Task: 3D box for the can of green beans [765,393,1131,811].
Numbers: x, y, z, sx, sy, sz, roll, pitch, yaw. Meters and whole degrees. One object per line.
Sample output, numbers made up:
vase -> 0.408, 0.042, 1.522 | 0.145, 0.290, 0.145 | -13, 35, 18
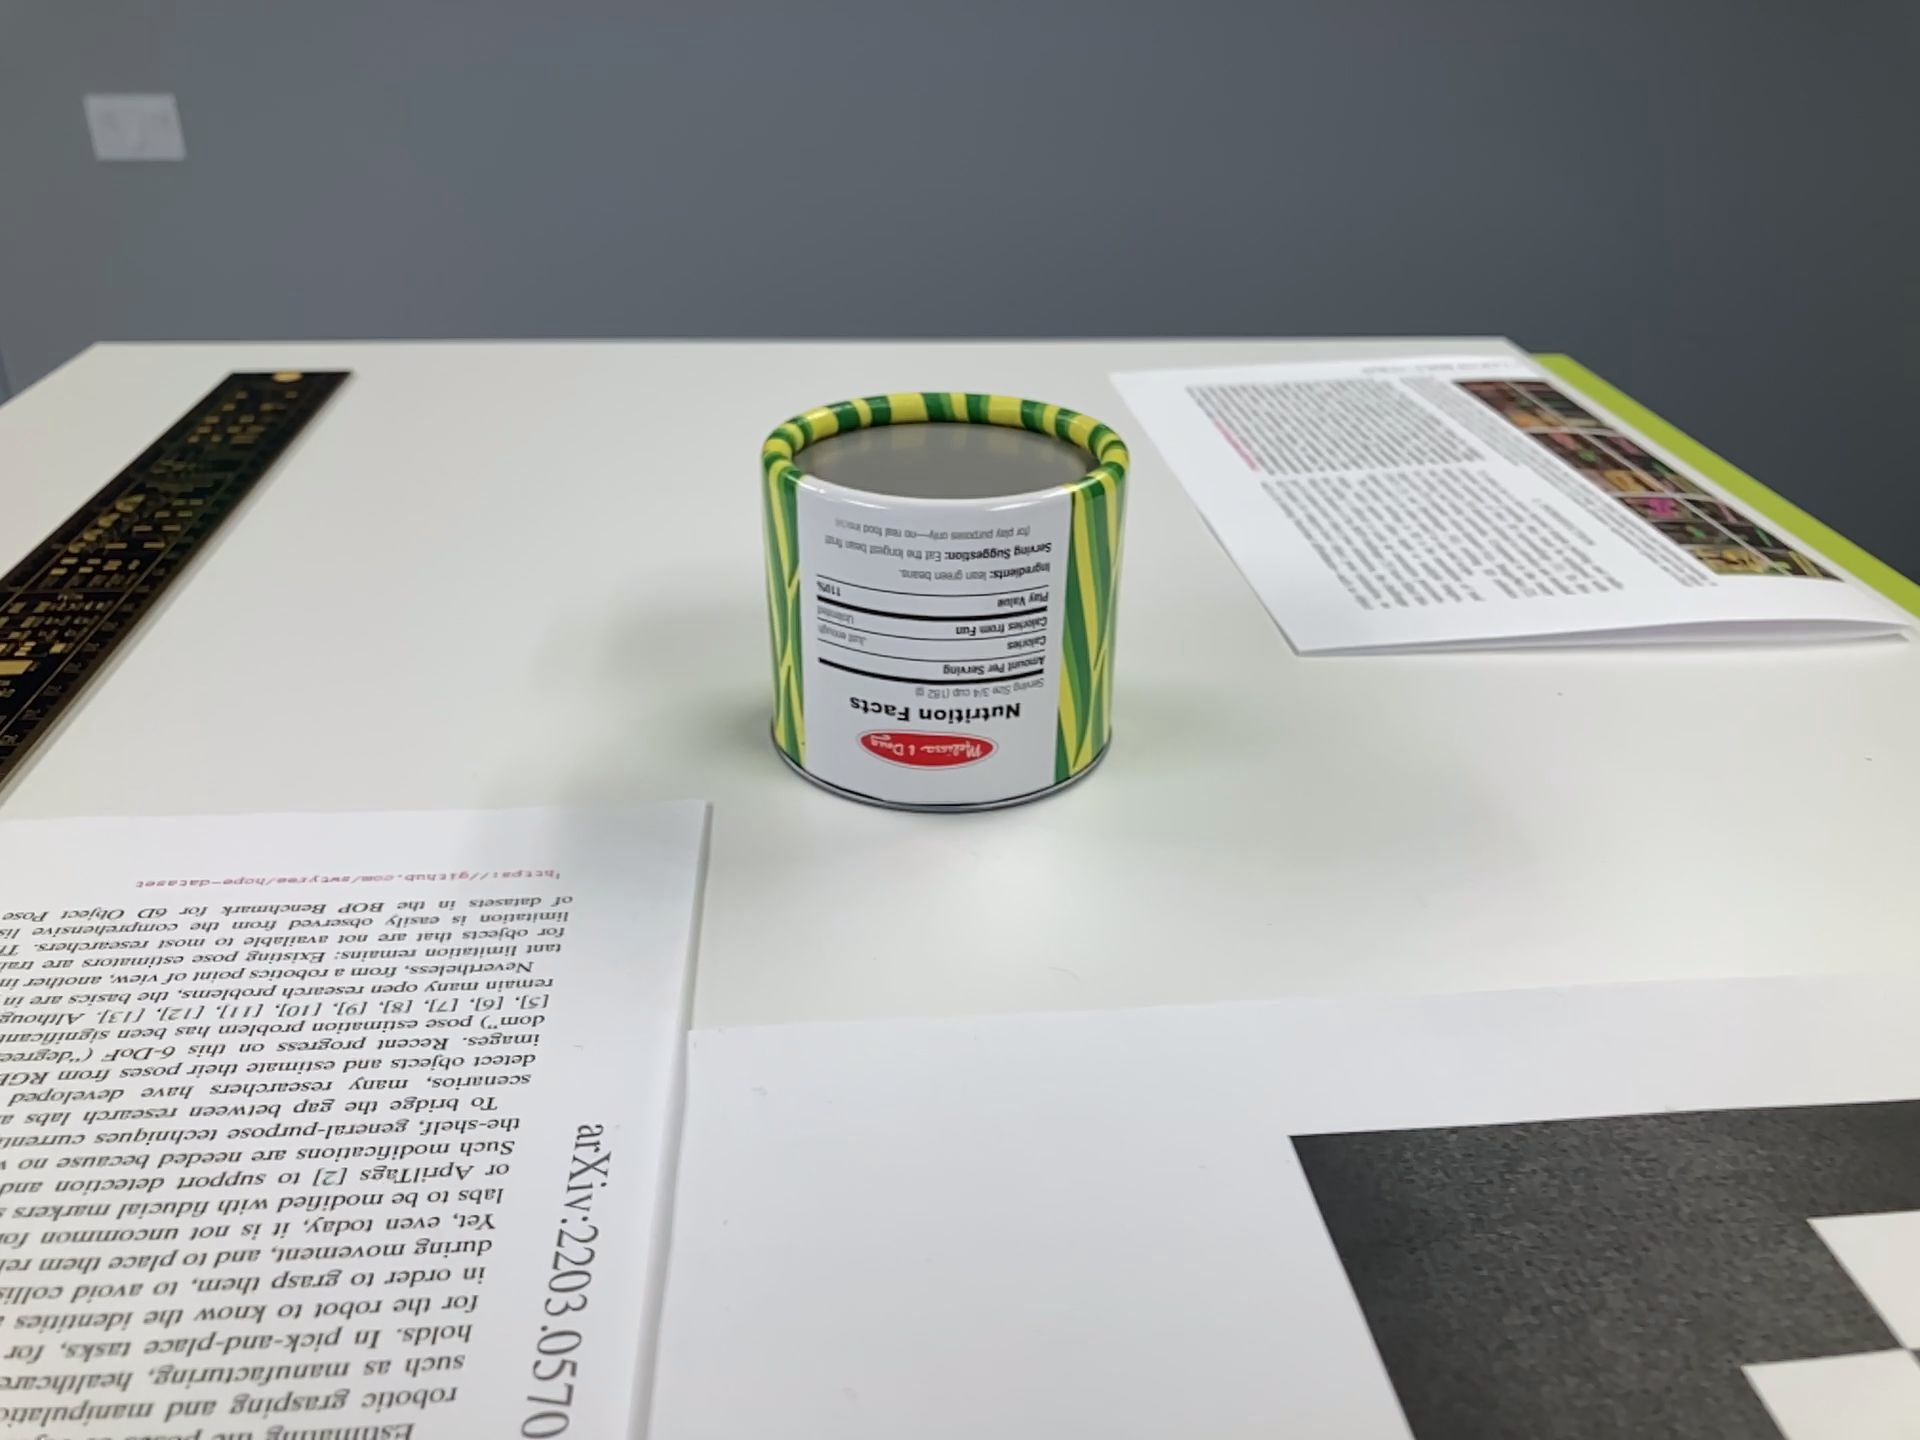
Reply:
can of green beans -> -0.003, -0.024, 0.299 | 0.071, 0.058, 0.071 | 1, 27, 0
